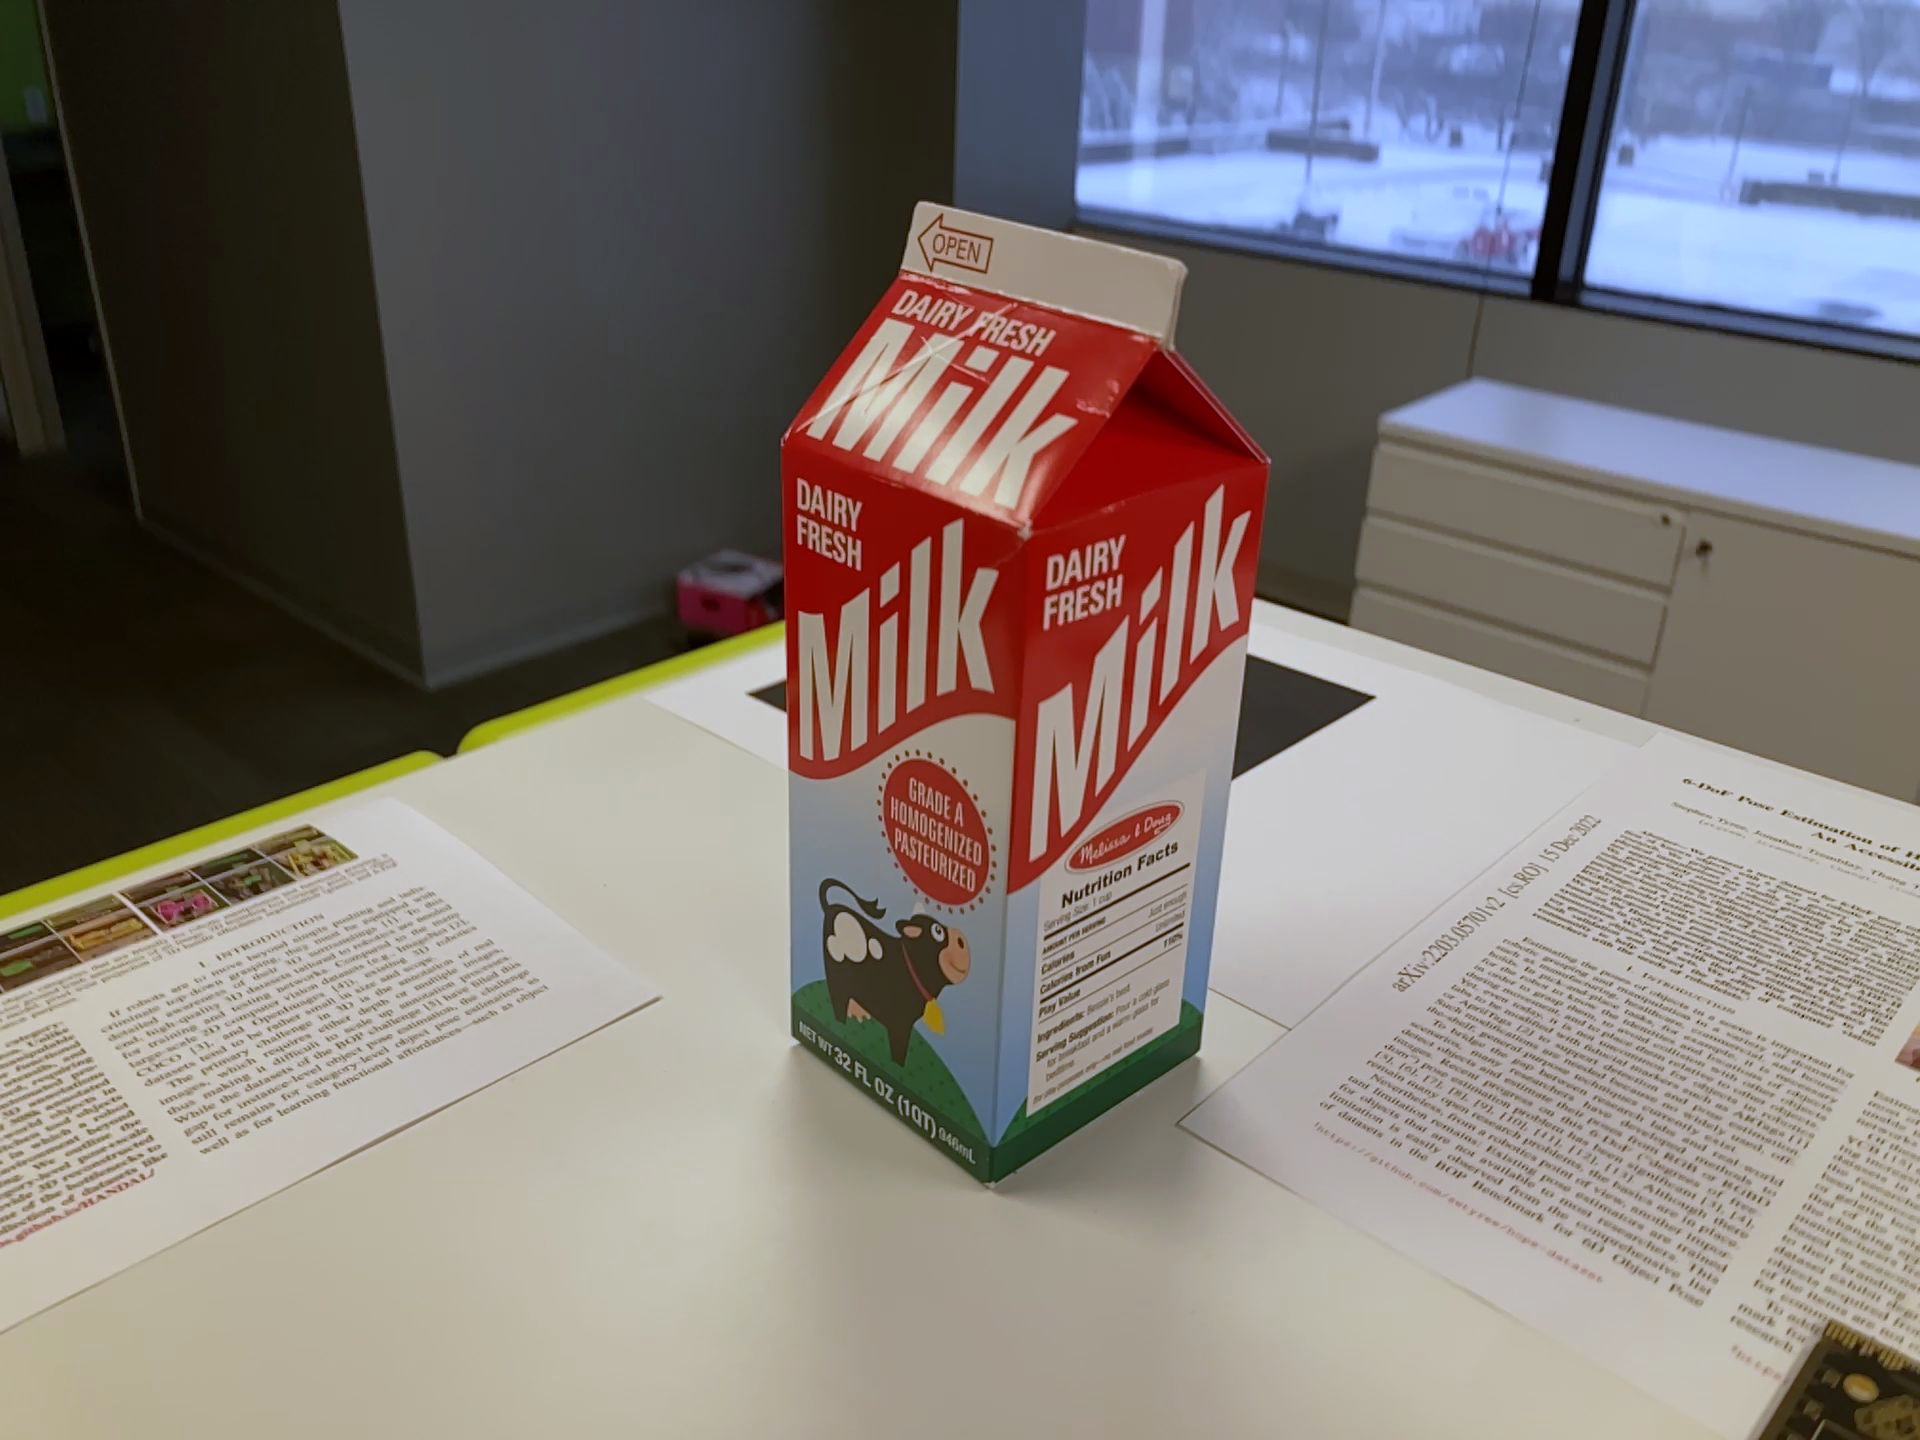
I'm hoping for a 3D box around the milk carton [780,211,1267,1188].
[{"bbox_3d":[0.011,-0.006,0.342,0.073,0.190,0.072,-21,34,-39],"label":"milk carton"}]
